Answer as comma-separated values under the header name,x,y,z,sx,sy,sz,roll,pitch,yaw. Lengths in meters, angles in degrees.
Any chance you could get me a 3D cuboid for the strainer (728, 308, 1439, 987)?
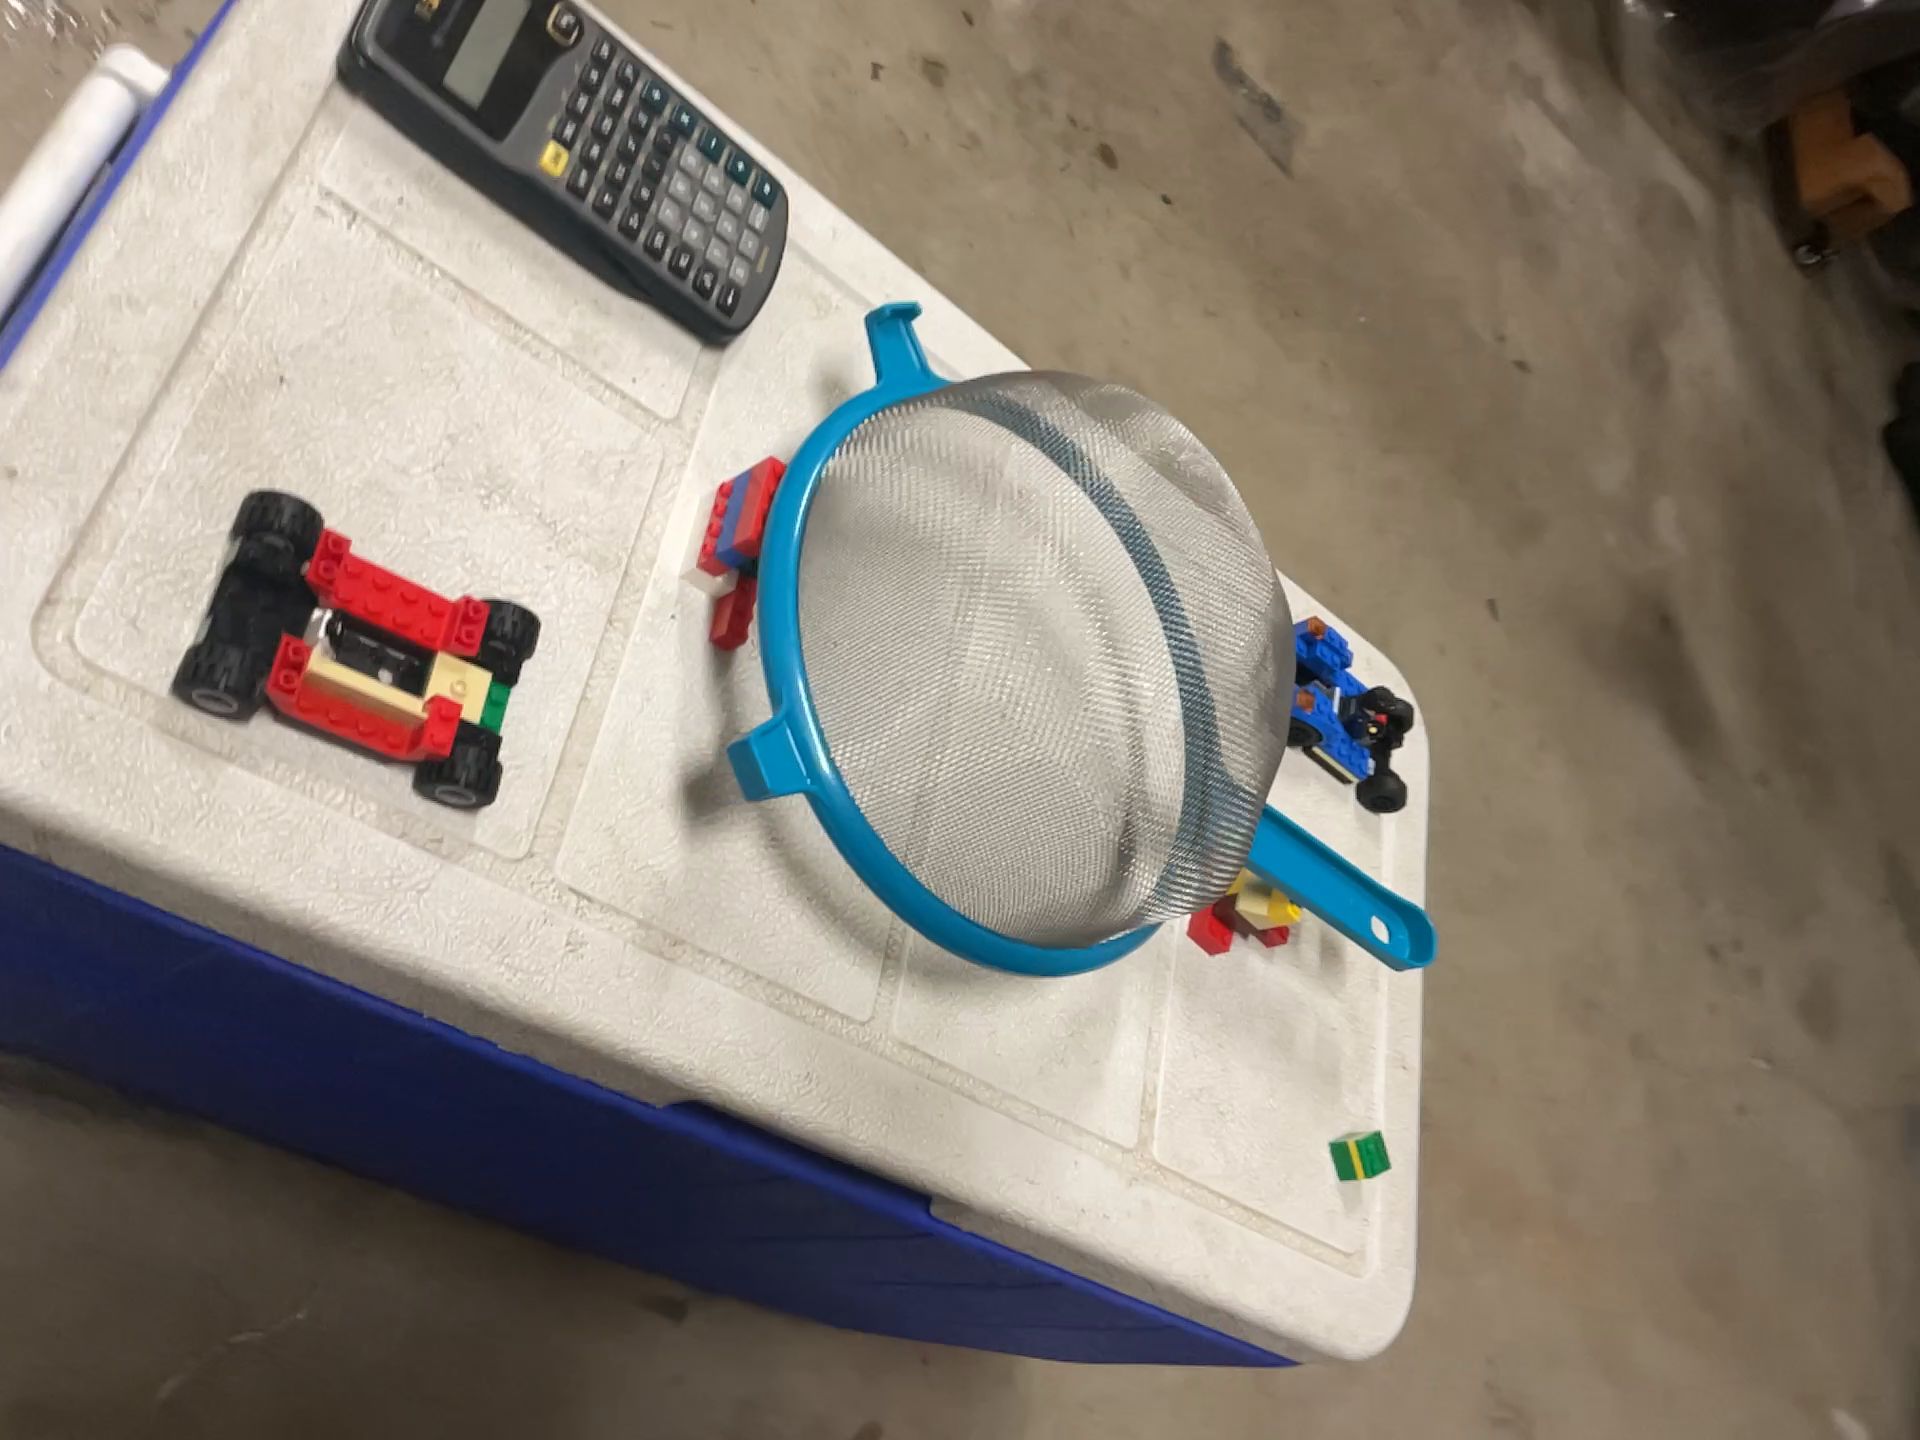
name,x,y,z,sx,sy,sz,roll,pitch,yaw
strainer,0.091,0.005,0.548,0.340,0.095,0.211,33,54,-30
